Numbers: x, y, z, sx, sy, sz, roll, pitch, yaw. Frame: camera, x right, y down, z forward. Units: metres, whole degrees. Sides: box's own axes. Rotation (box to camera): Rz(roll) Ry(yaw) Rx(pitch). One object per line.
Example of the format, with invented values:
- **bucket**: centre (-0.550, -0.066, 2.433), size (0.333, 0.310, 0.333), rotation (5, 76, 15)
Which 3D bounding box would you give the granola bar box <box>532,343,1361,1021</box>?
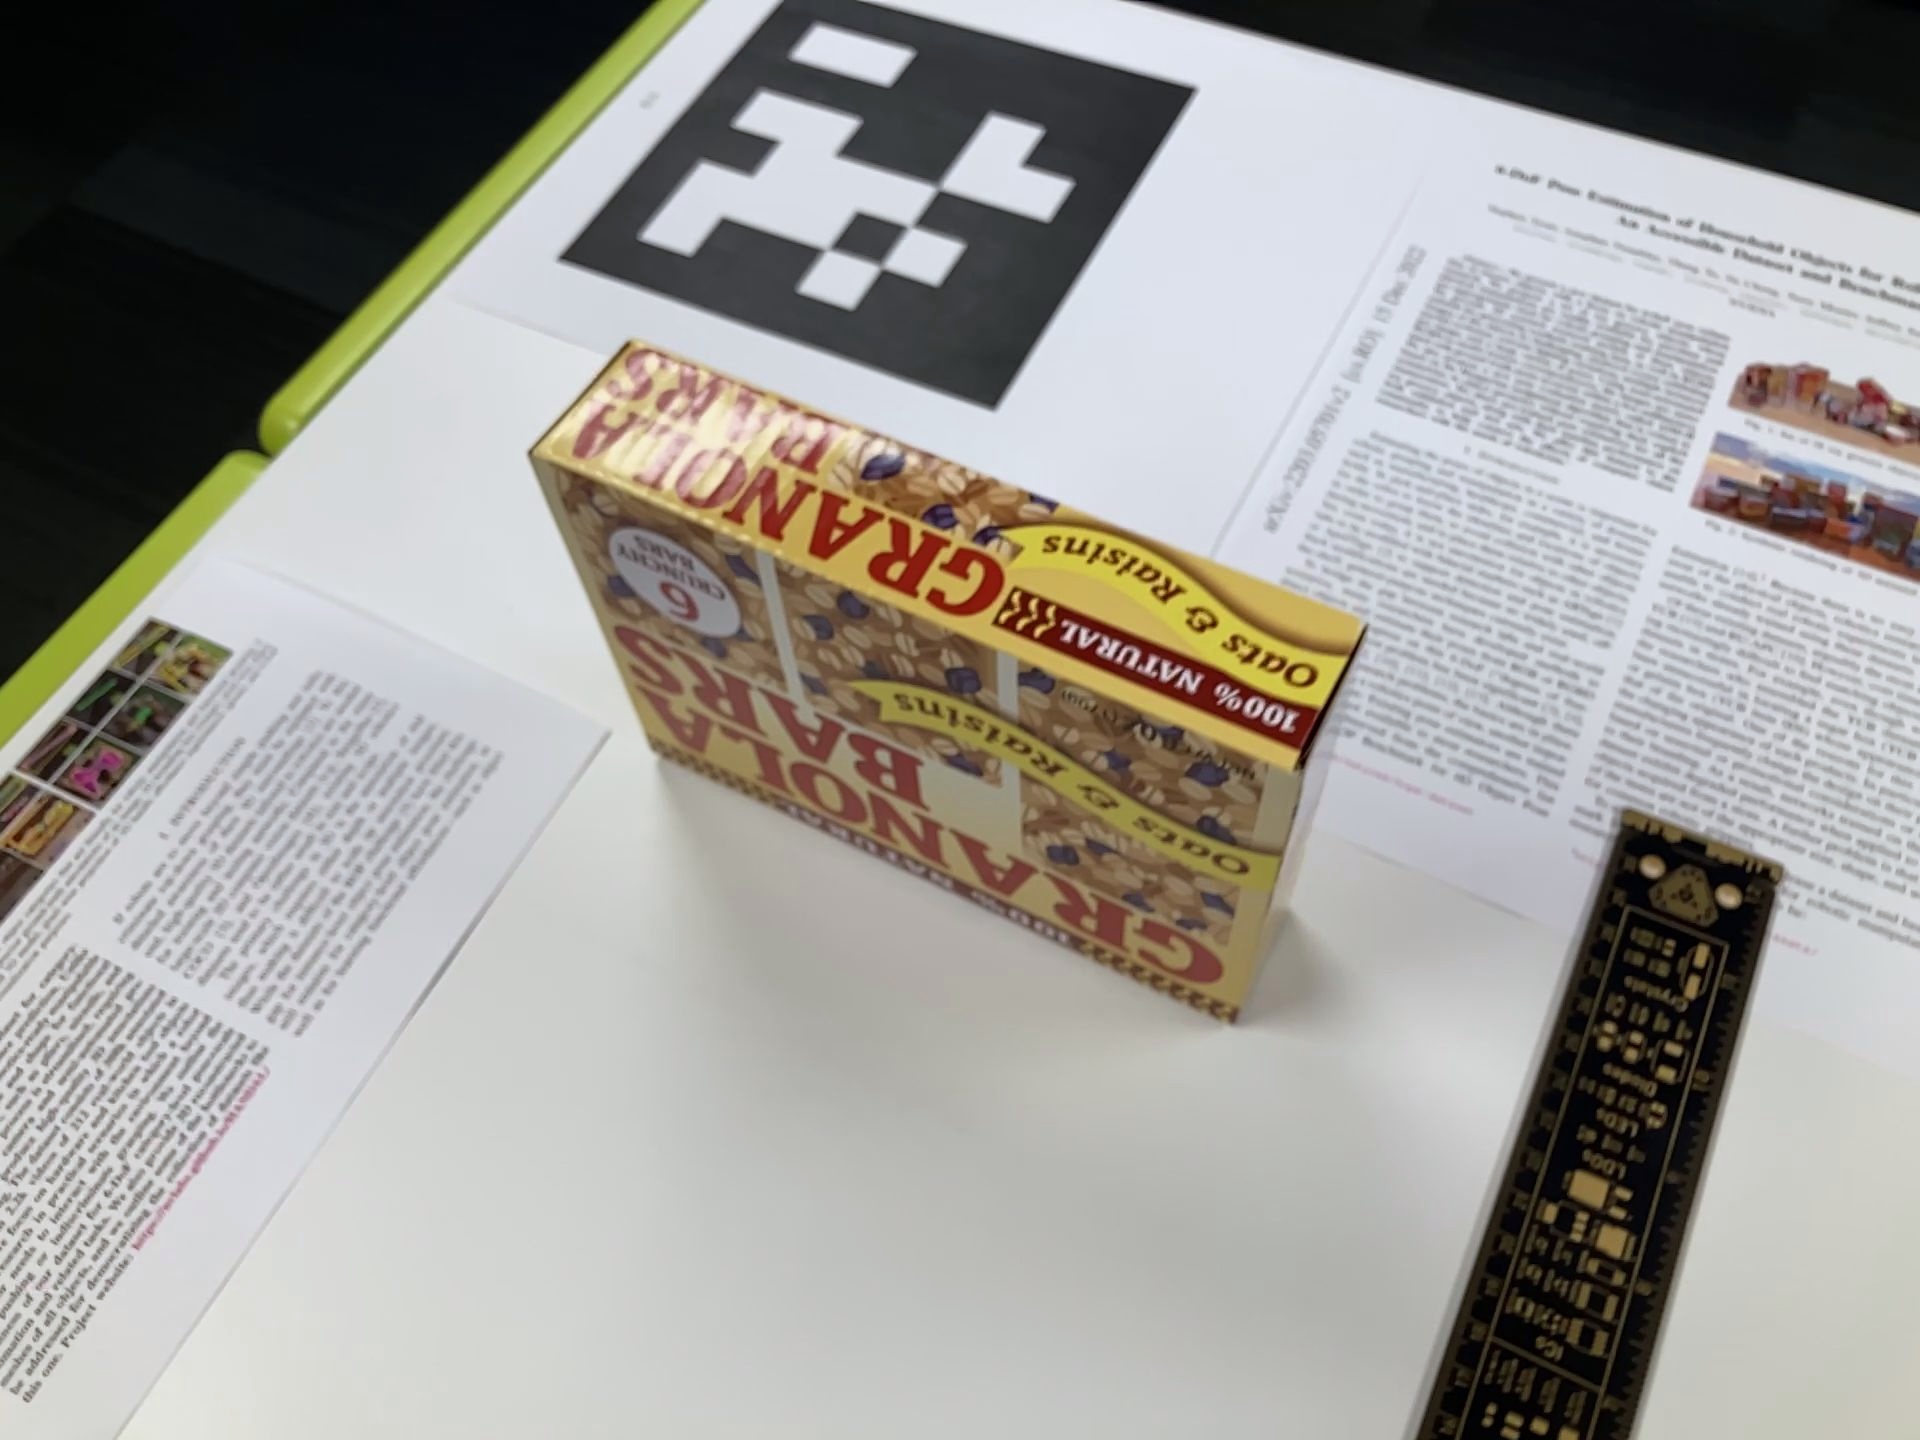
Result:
- **granola bar box**: centre (-0.003, -0.005, 0.359), size (0.165, 0.124, 0.039), rotation (24, 63, 16)
